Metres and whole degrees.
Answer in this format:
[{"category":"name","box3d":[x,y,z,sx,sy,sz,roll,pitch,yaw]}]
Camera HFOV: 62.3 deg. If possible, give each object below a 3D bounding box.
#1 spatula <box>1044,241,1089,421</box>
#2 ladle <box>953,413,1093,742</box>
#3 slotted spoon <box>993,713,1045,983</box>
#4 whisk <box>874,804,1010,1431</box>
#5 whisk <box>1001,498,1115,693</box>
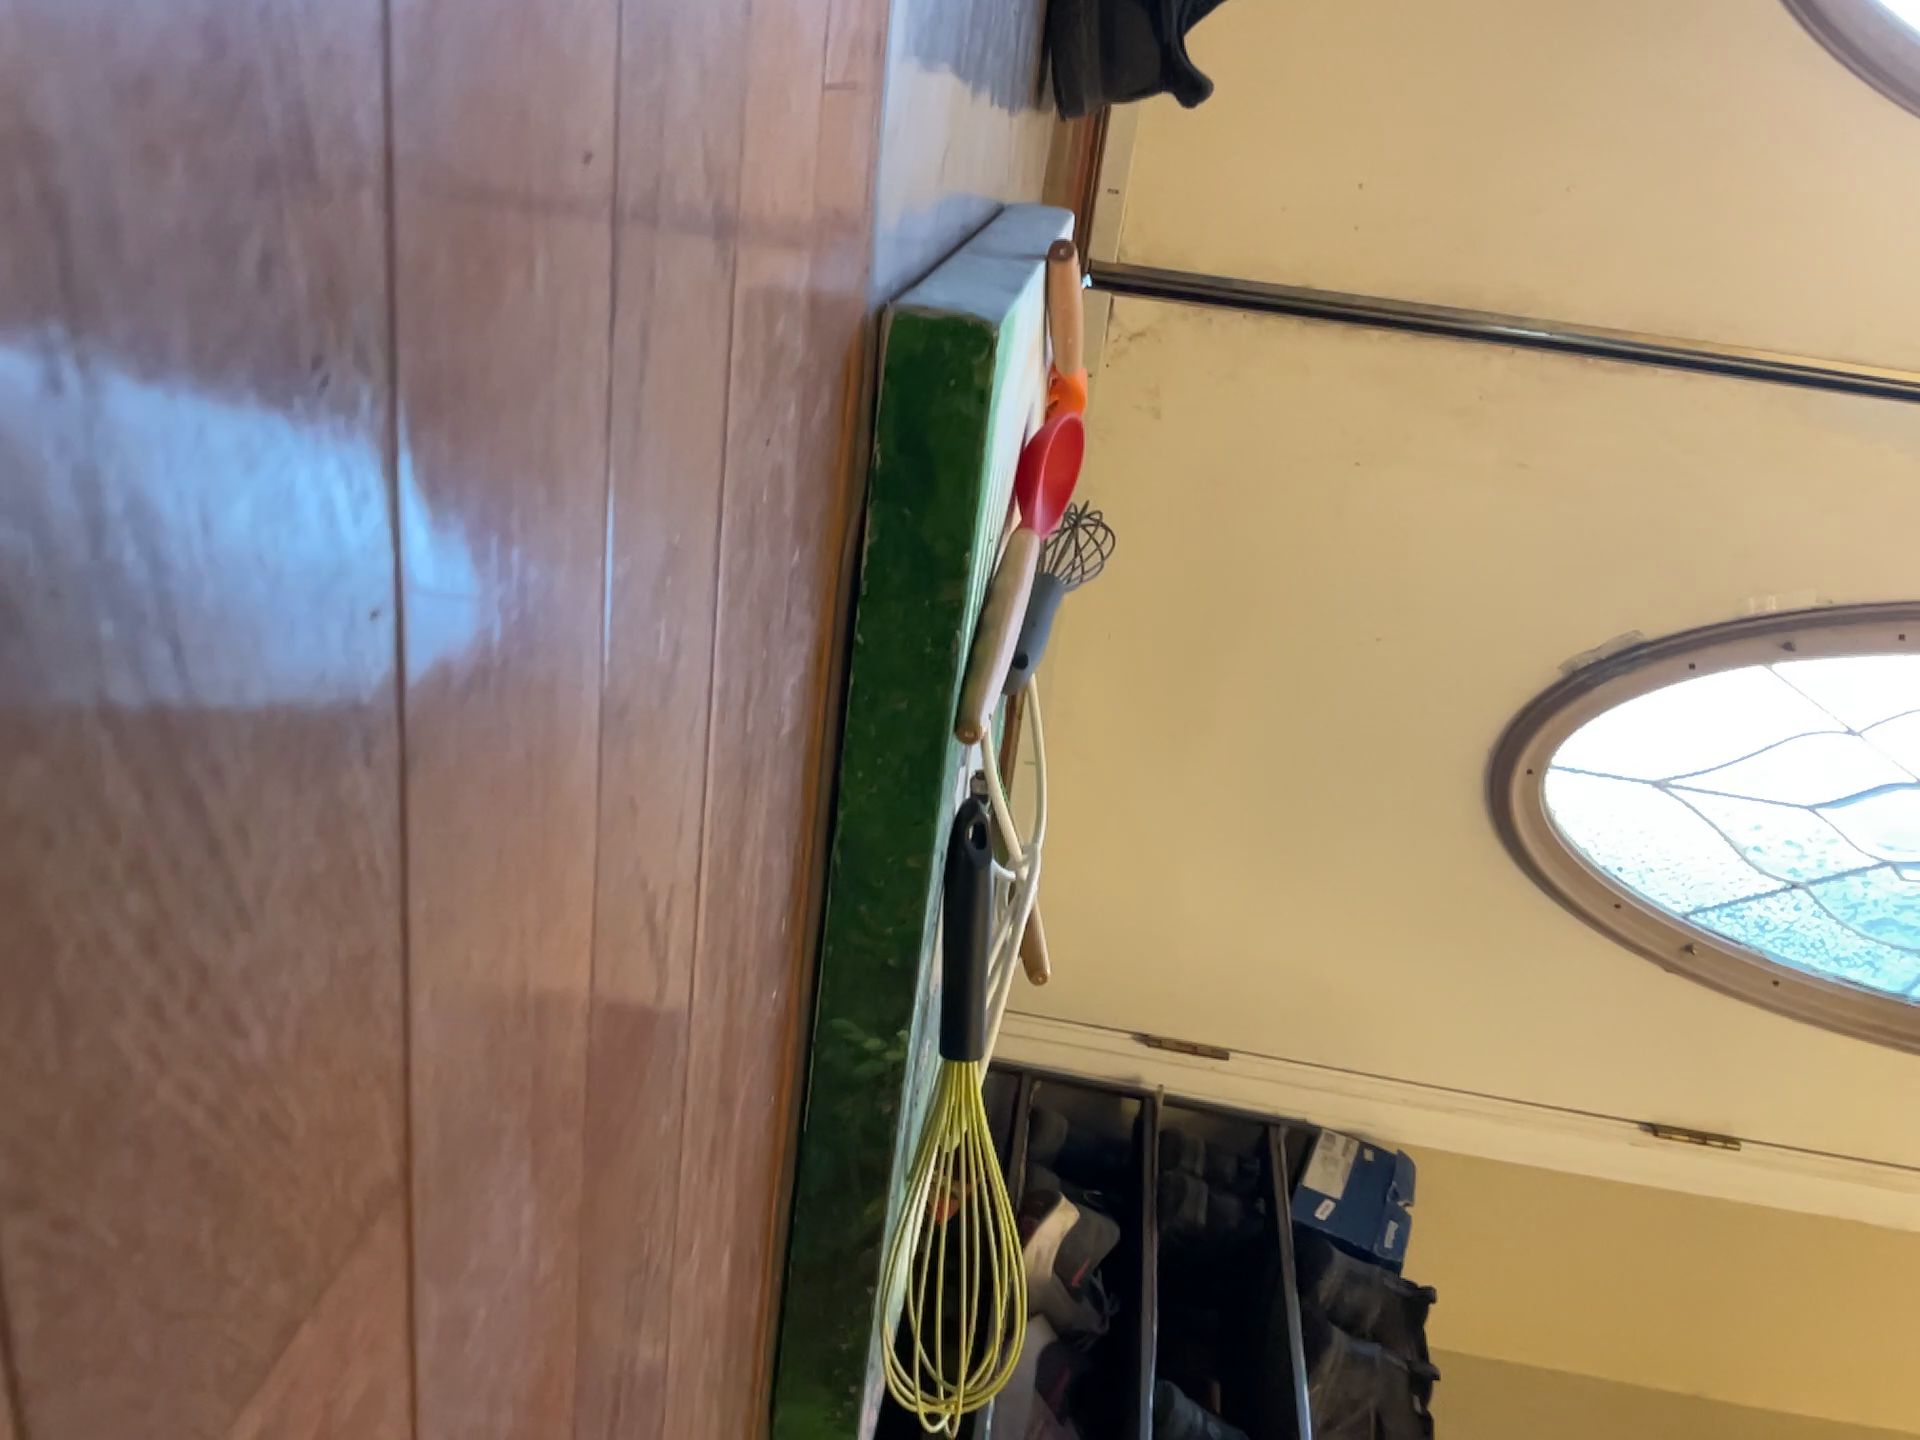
[{"category":"spatula","box3d":[0.051,-0.204,0.887,0.322,0.041,0.081,30,59,-84]},{"category":"ladle","box3d":[0.029,-0.074,0.758,0.316,0.031,0.069,-69,167,-58]},{"category":"slotted spoon","box3d":[0.032,0.077,1.057,0.314,0.031,0.070,-99,-165,-63]},{"category":"whisk","box3d":[-0.004,0.195,0.779,0.080,0.067,0.311,-95,-171,-85]},{"category":"whisk","box3d":[0.053,-0.076,0.958,0.239,0.055,0.055,-63,153,-57]}]
